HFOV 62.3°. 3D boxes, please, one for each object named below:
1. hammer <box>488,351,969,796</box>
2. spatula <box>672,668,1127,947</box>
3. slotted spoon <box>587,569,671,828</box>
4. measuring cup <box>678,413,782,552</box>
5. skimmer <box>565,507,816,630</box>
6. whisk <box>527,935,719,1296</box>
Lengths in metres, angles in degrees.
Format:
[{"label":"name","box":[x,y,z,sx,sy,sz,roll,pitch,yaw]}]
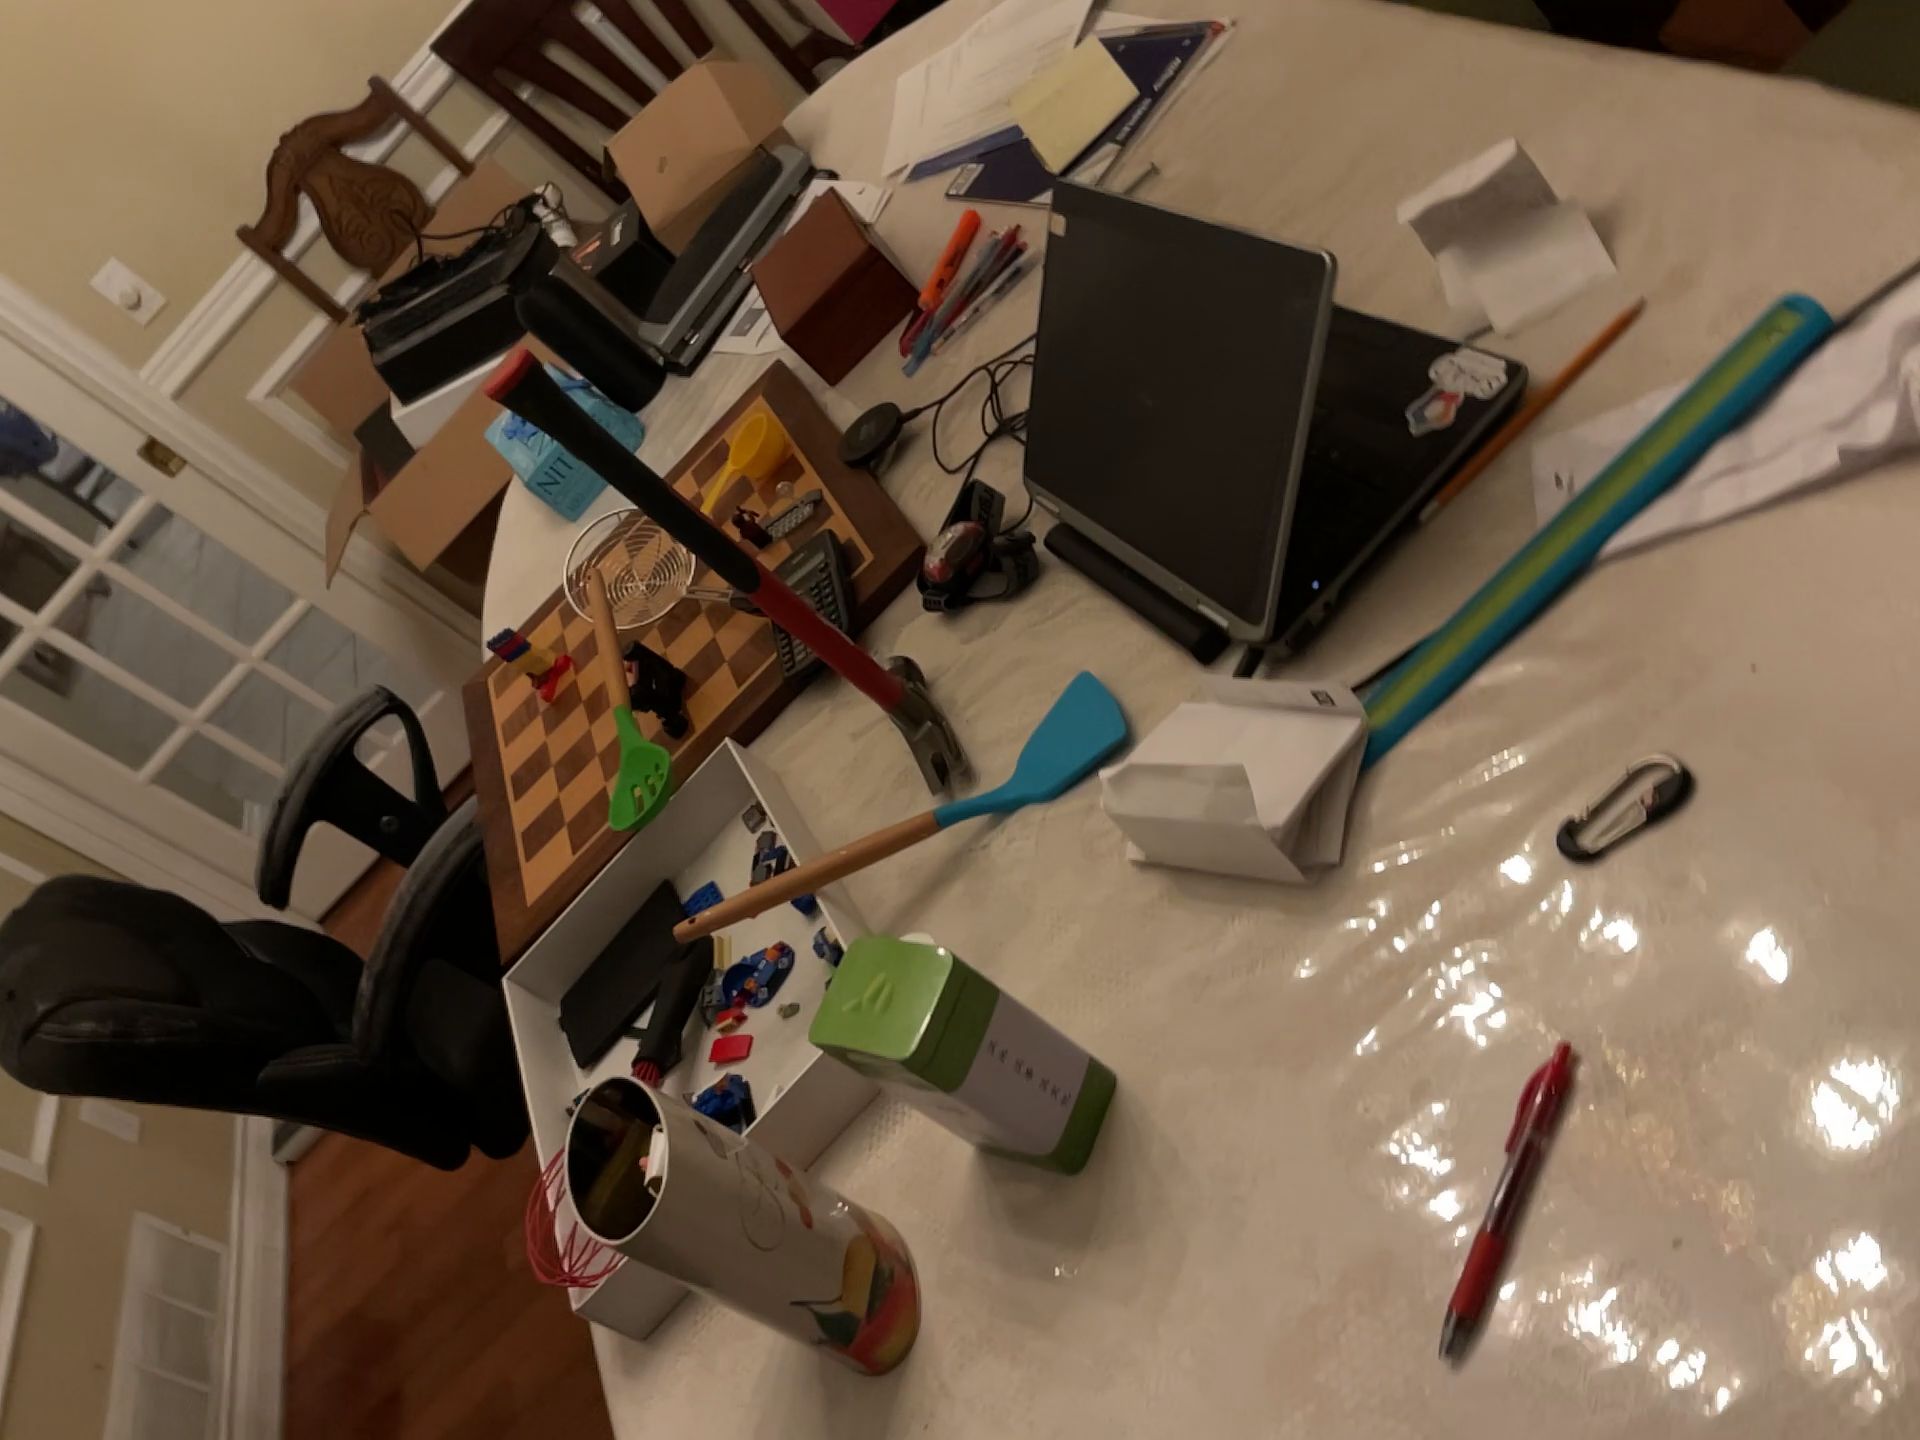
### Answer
[{"label":"hammer","box":[-0.137,-0.090,1.018,0.038,0.385,0.143,-43,34,10]},{"label":"spatula","box":[-0.042,0.067,1.015,0.317,0.044,0.082,-25,38,-1]},{"label":"slotted spoon","box":[-0.280,-0.026,1.306,0.070,0.031,0.314,-40,44,17]},{"label":"measuring cup","box":[-0.221,-0.222,1.526,0.156,0.029,0.062,-55,35,14]},{"label":"skimmer","box":[-0.237,-0.125,1.376,0.127,0.090,0.364,-56,30,-13]},{"label":"whisk","box":[-0.209,0.245,1.043,0.073,0.073,0.296,-11,32,19]}]
